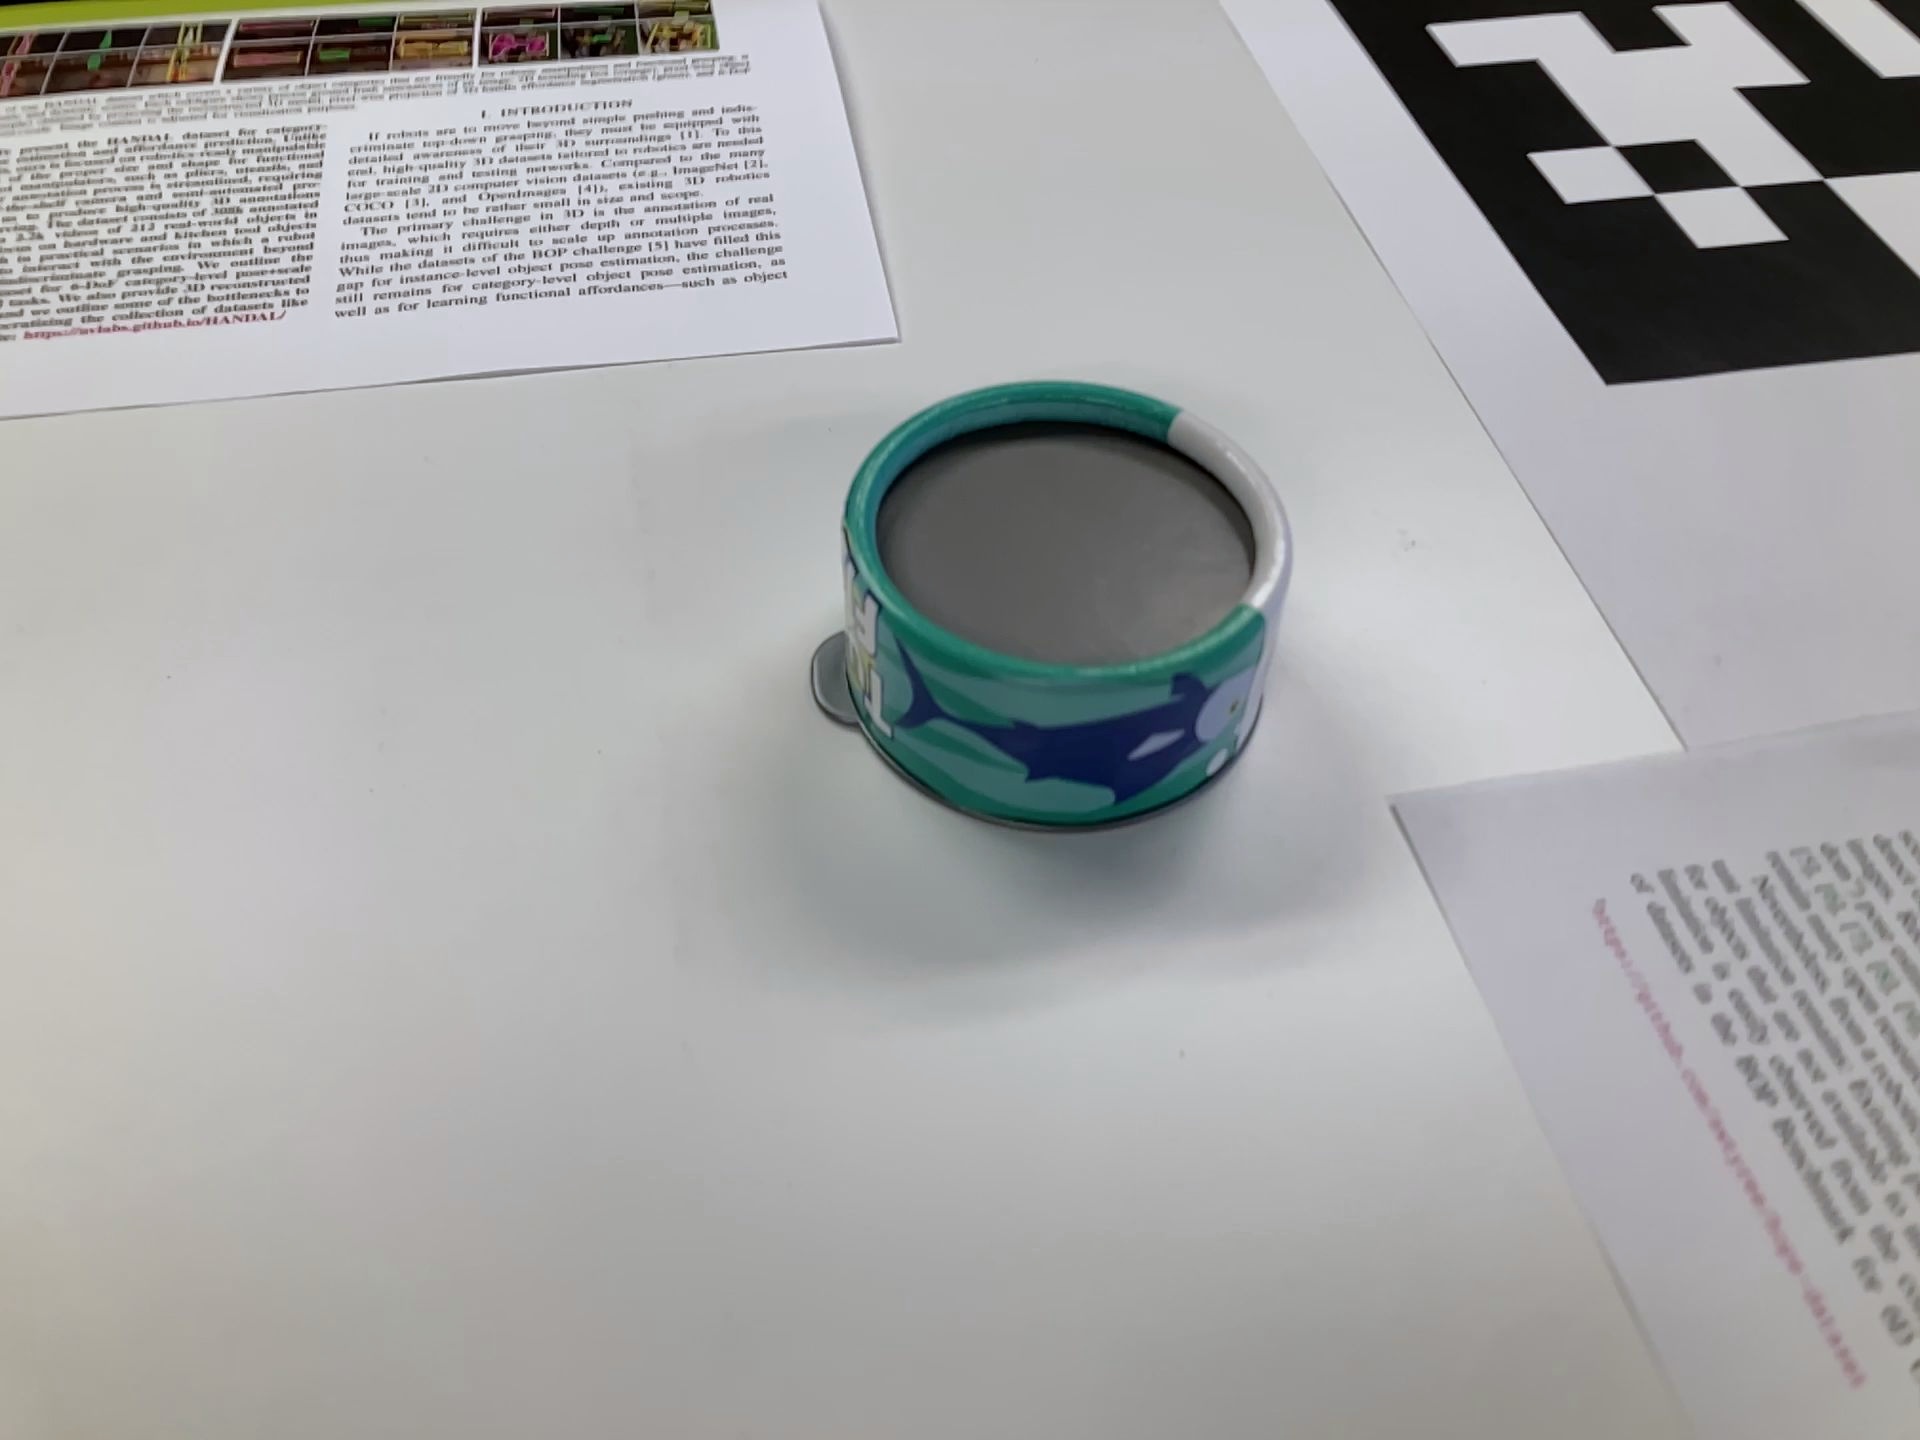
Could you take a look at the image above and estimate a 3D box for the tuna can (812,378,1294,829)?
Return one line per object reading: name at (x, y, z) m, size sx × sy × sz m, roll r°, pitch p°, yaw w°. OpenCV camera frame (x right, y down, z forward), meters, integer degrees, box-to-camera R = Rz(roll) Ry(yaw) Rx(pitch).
tuna can at (0.012, -0.019, 0.237) m, size 0.071 × 0.033 × 0.071 m, roll 0°, pitch 48°, yaw 0°
